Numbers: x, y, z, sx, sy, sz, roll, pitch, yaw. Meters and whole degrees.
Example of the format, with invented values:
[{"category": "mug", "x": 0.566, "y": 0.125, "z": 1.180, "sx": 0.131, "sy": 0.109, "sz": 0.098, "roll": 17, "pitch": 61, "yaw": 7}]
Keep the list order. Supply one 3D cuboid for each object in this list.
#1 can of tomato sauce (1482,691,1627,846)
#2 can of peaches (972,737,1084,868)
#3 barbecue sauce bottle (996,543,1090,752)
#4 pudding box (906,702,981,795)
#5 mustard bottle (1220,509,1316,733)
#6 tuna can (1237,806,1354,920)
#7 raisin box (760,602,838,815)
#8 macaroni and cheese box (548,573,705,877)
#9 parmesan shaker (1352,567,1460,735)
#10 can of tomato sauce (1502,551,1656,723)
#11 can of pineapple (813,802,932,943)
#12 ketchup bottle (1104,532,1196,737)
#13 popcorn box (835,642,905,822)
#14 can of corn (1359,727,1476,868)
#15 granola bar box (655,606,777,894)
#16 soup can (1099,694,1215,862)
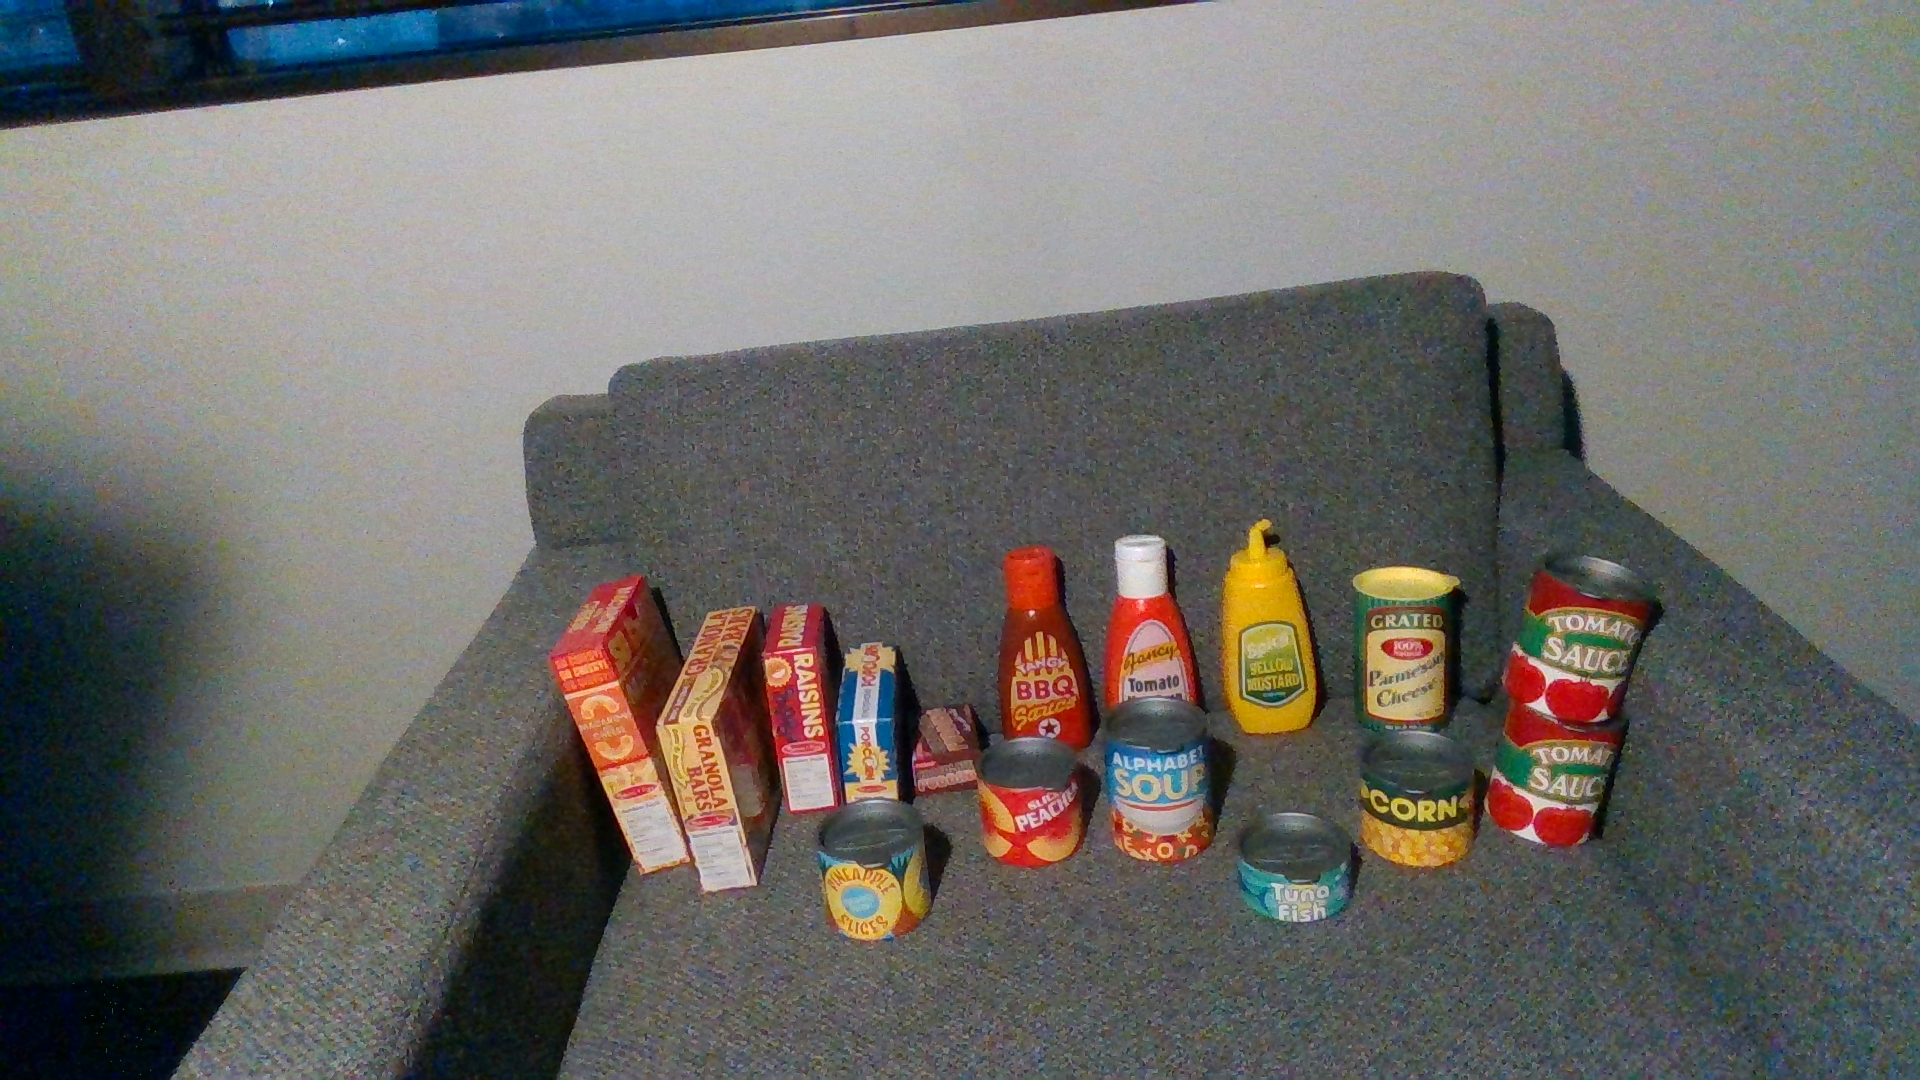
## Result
[{"category": "can of tomato sauce", "x": 0.362, "y": 0.135, "z": 0.848, "sx": 0.071, "sy": 0.082, "sz": 0.071, "roll": 6, "pitch": 20, "yaw": -2}, {"category": "can of peaches", "x": 0.045, "y": 0.166, "z": 0.877, "sx": 0.071, "sy": 0.057, "sz": 0.071, "roll": -6, "pitch": 20, "yaw": 2}, {"category": "barbecue sauce bottle", "x": 0.055, "y": 0.078, "z": 0.982, "sx": 0.065, "sy": 0.148, "sz": 0.044, "roll": -7, "pitch": 15, "yaw": -4}, {"category": "pudding box", "x": -0.011, "y": 0.147, "z": 0.982, "sx": 0.050, "sy": 0.030, "sz": 0.084, "roll": -8, "pitch": 17, "yaw": -2}, {"category": "mustard bottle", "x": 0.213, "y": 0.056, "z": 0.979, "sx": 0.065, "sy": 0.159, "sz": 0.049, "roll": -9, "pitch": 15, "yaw": 5}, {"category": "tuna can", "x": 0.195, "y": 0.188, "z": 0.804, "sx": 0.071, "sy": 0.032, "sz": 0.071, "roll": -7, "pitch": 25, "yaw": 3}, {"category": "raisin box", "x": -0.109, "y": 0.115, "z": 0.966, "sx": 0.040, "sy": 0.123, "sz": 0.086, "roll": -6, "pitch": 16, "yaw": 0}, {"category": "macaroni and cheese box", "x": -0.214, "y": 0.121, "z": 0.942, "sx": 0.040, "sy": 0.166, "sz": 0.124, "roll": -15, "pitch": 19, "yaw": 6}, {"category": "parmesan shaker", "x": 0.313, "y": 0.078, "z": 0.972, "sx": 0.071, "sy": 0.102, "sz": 0.071, "roll": -5, "pitch": 17, "yaw": 2}, {"category": "can of tomato sauce", "x": 0.364, "y": 0.058, "z": 0.821, "sx": 0.071, "sy": 0.082, "sz": 0.071, "roll": 6, "pitch": 22, "yaw": -2}, {"category": "can of pineapple", "x": -0.052, "y": 0.198, "z": 0.827, "sx": 0.071, "sy": 0.057, "sz": 0.071, "roll": -6, "pitch": 18, "yaw": 2}, {"category": "ketchup bottle", "x": 0.132, "y": 0.069, "z": 0.982, "sx": 0.065, "sy": 0.148, "sz": 0.043, "roll": -6, "pitch": 15, "yaw": -3}, {"category": "popcorn box", "x": -0.060, "y": 0.133, "z": 0.953, "sx": 0.038, "sy": 0.085, "sz": 0.127, "roll": -5, "pitch": 19, "yaw": 1}, {"category": "can of corn", "x": 0.274, "y": 0.156, "z": 0.835, "sx": 0.071, "sy": 0.058, "sz": 0.071, "roll": -6, "pitch": 23, "yaw": 2}, {"category": "granola bar box", "x": -0.154, "y": 0.135, "z": 0.927, "sx": 0.039, "sy": 0.123, "sz": 0.166, "roll": -9, "pitch": 21, "yaw": 5}, {"category": "soup can", "x": 0.124, "y": 0.149, "z": 0.863, "sx": 0.071, "sy": 0.083, "sz": 0.071, "roll": -7, "pitch": 19, "yaw": 2}]
